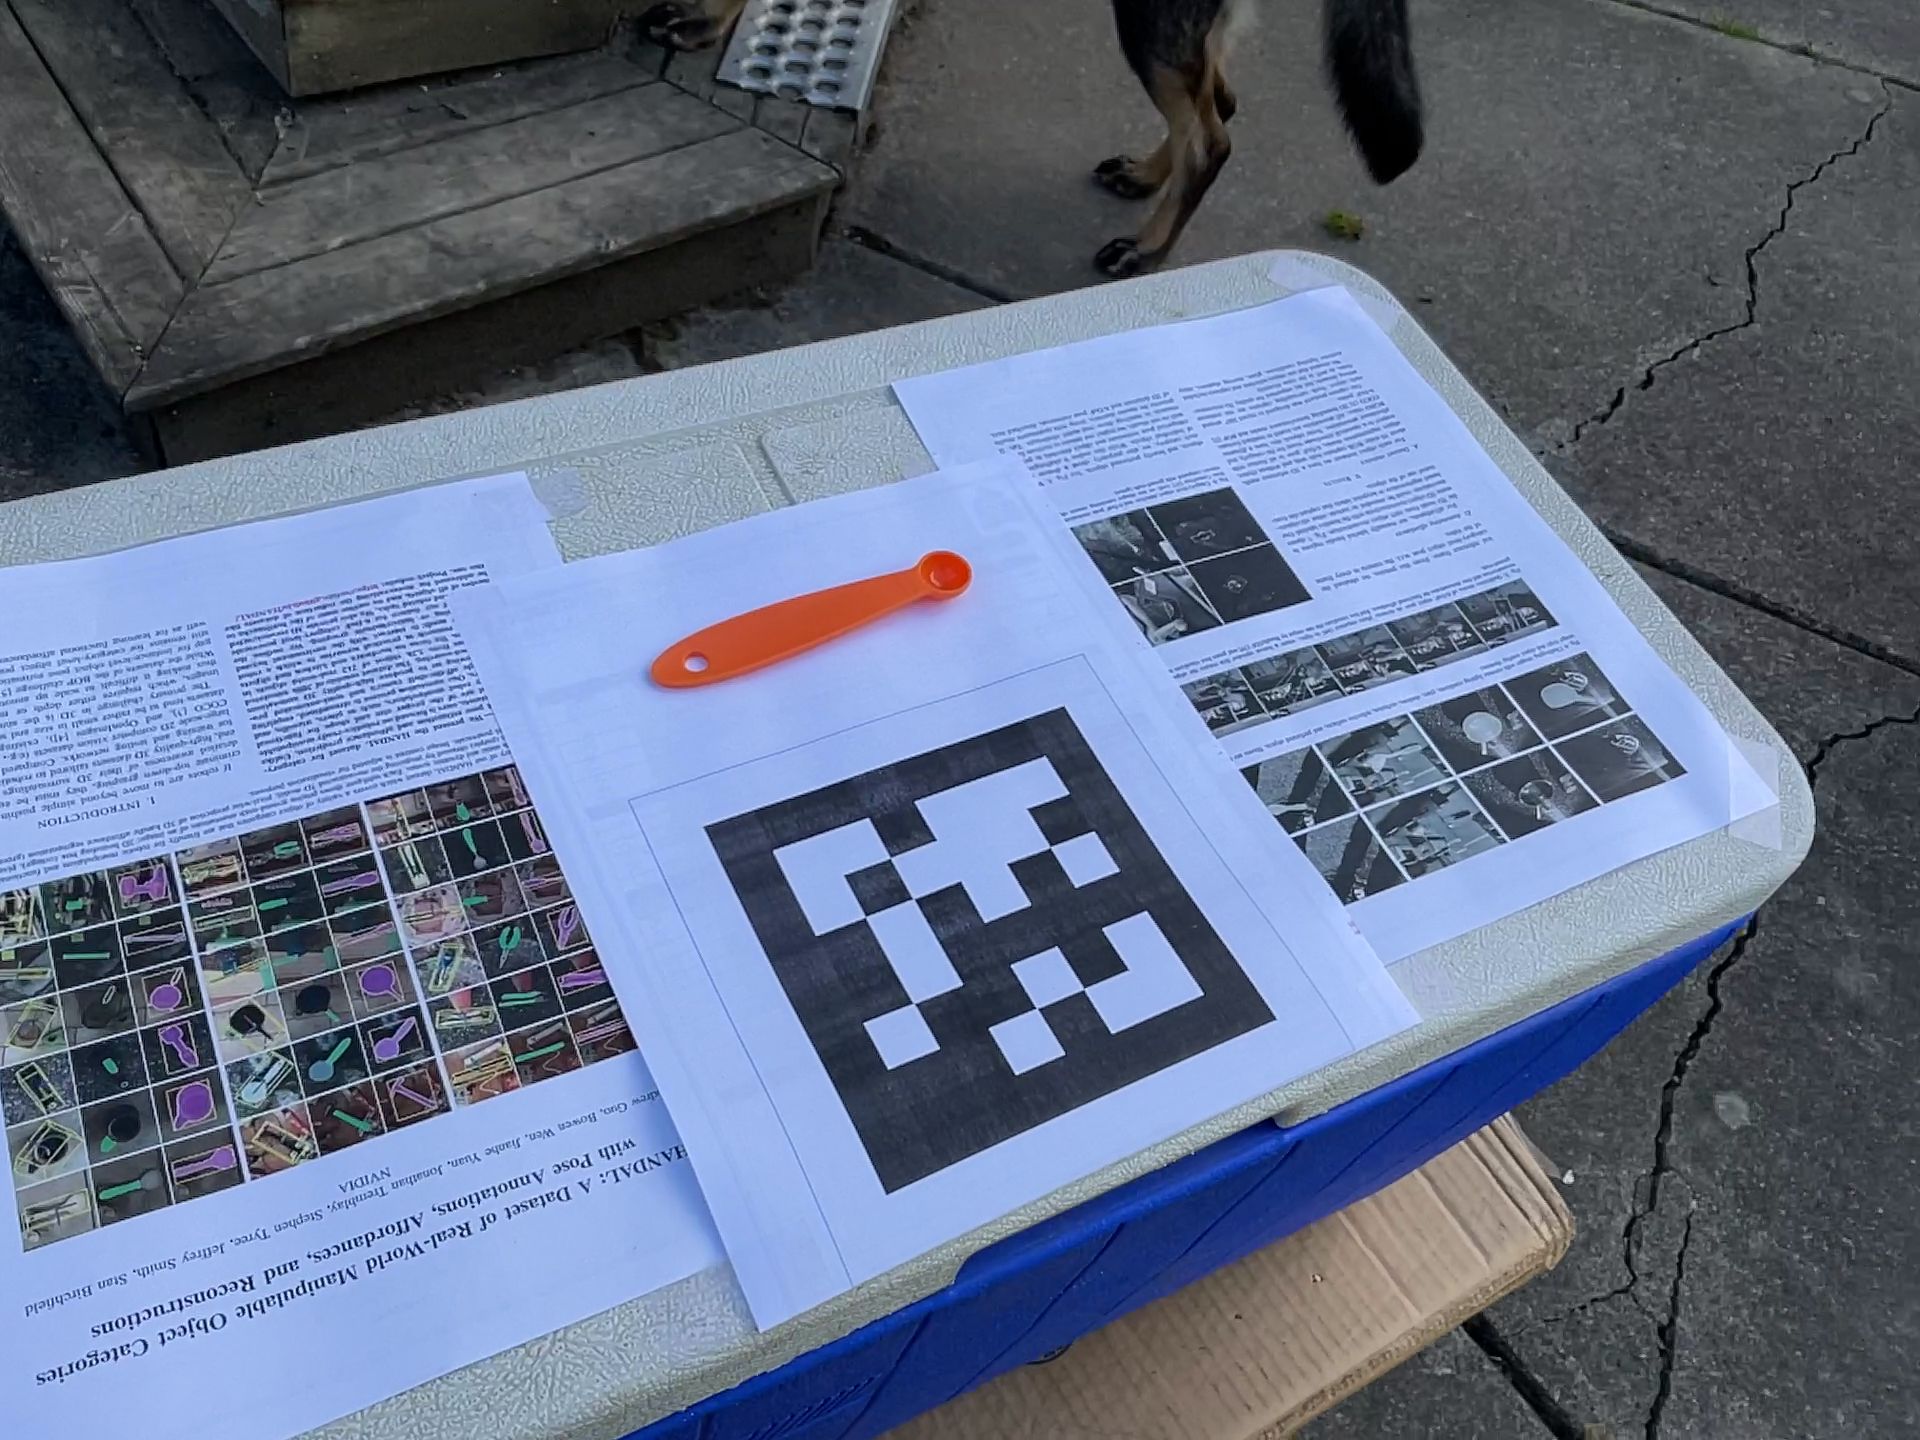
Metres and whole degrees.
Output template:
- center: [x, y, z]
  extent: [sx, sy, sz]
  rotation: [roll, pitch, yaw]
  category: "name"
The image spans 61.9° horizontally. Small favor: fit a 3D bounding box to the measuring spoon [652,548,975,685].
- center: [-0.048, -0.033, 0.536]
  extent: [0.117, 0.011, 0.021]
  rotation: [-21, 61, -21]
  category: "measuring spoon"
